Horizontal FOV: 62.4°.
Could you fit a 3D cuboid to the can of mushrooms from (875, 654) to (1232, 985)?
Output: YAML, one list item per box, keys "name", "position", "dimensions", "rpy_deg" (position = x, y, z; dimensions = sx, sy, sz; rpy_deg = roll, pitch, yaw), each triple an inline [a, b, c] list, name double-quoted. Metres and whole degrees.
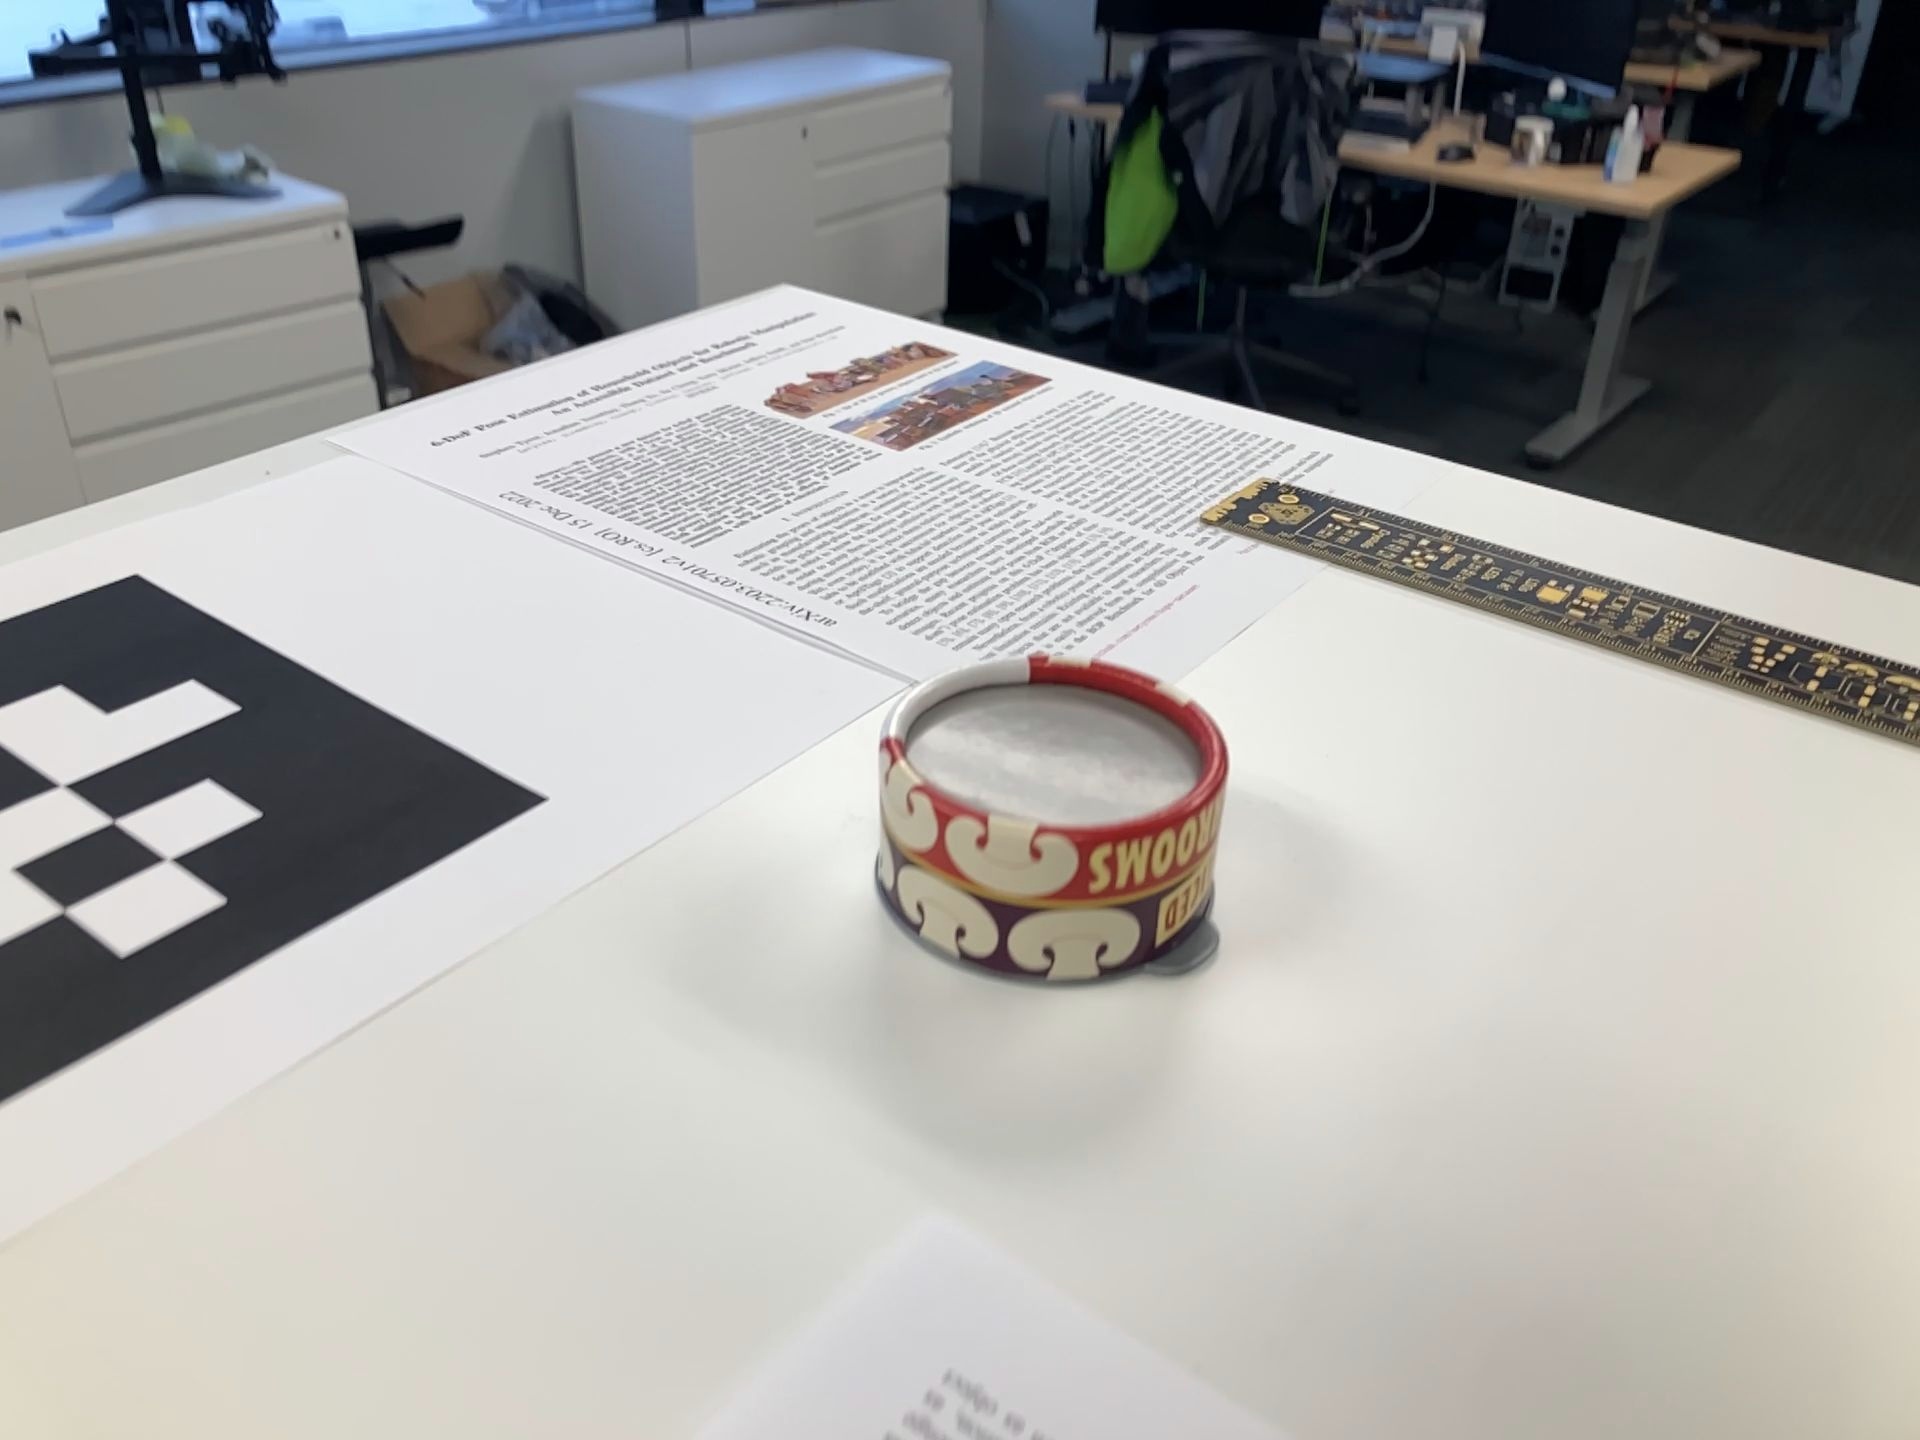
- name: "can of mushrooms"
  position: [0.019, 0.017, 0.301]
  dimensions: [0.071, 0.033, 0.071]
  rpy_deg: [3, 31, -2]
